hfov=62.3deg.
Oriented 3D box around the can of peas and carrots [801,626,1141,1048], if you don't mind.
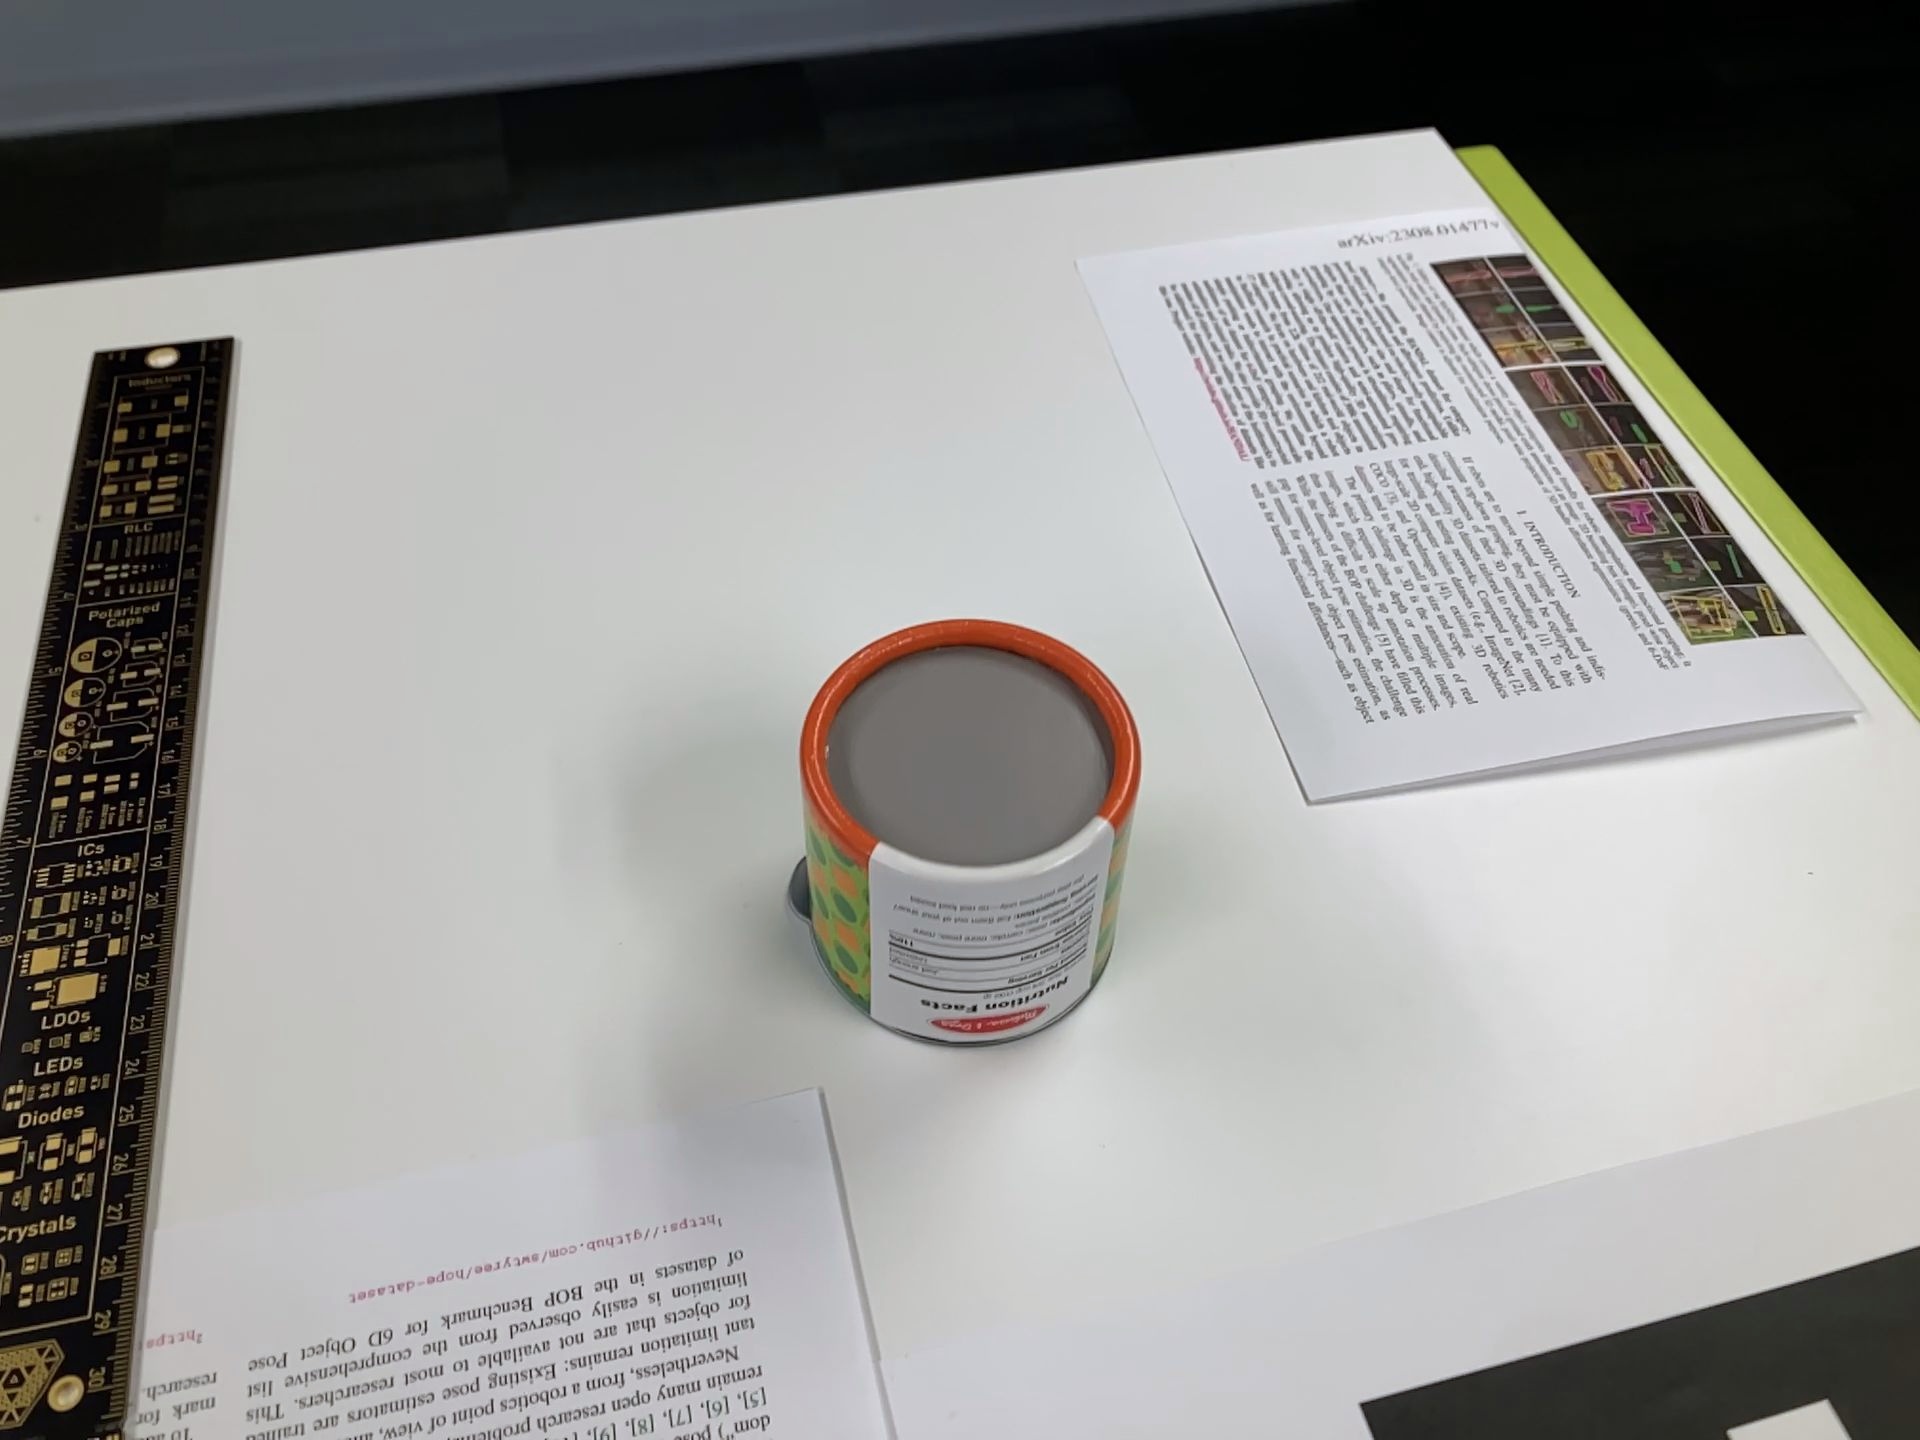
[{"bbox_3d":[0.001,0.021,0.325,0.071,0.059,0.071,1,49,-1],"label":"can of peas and carrots"}]
